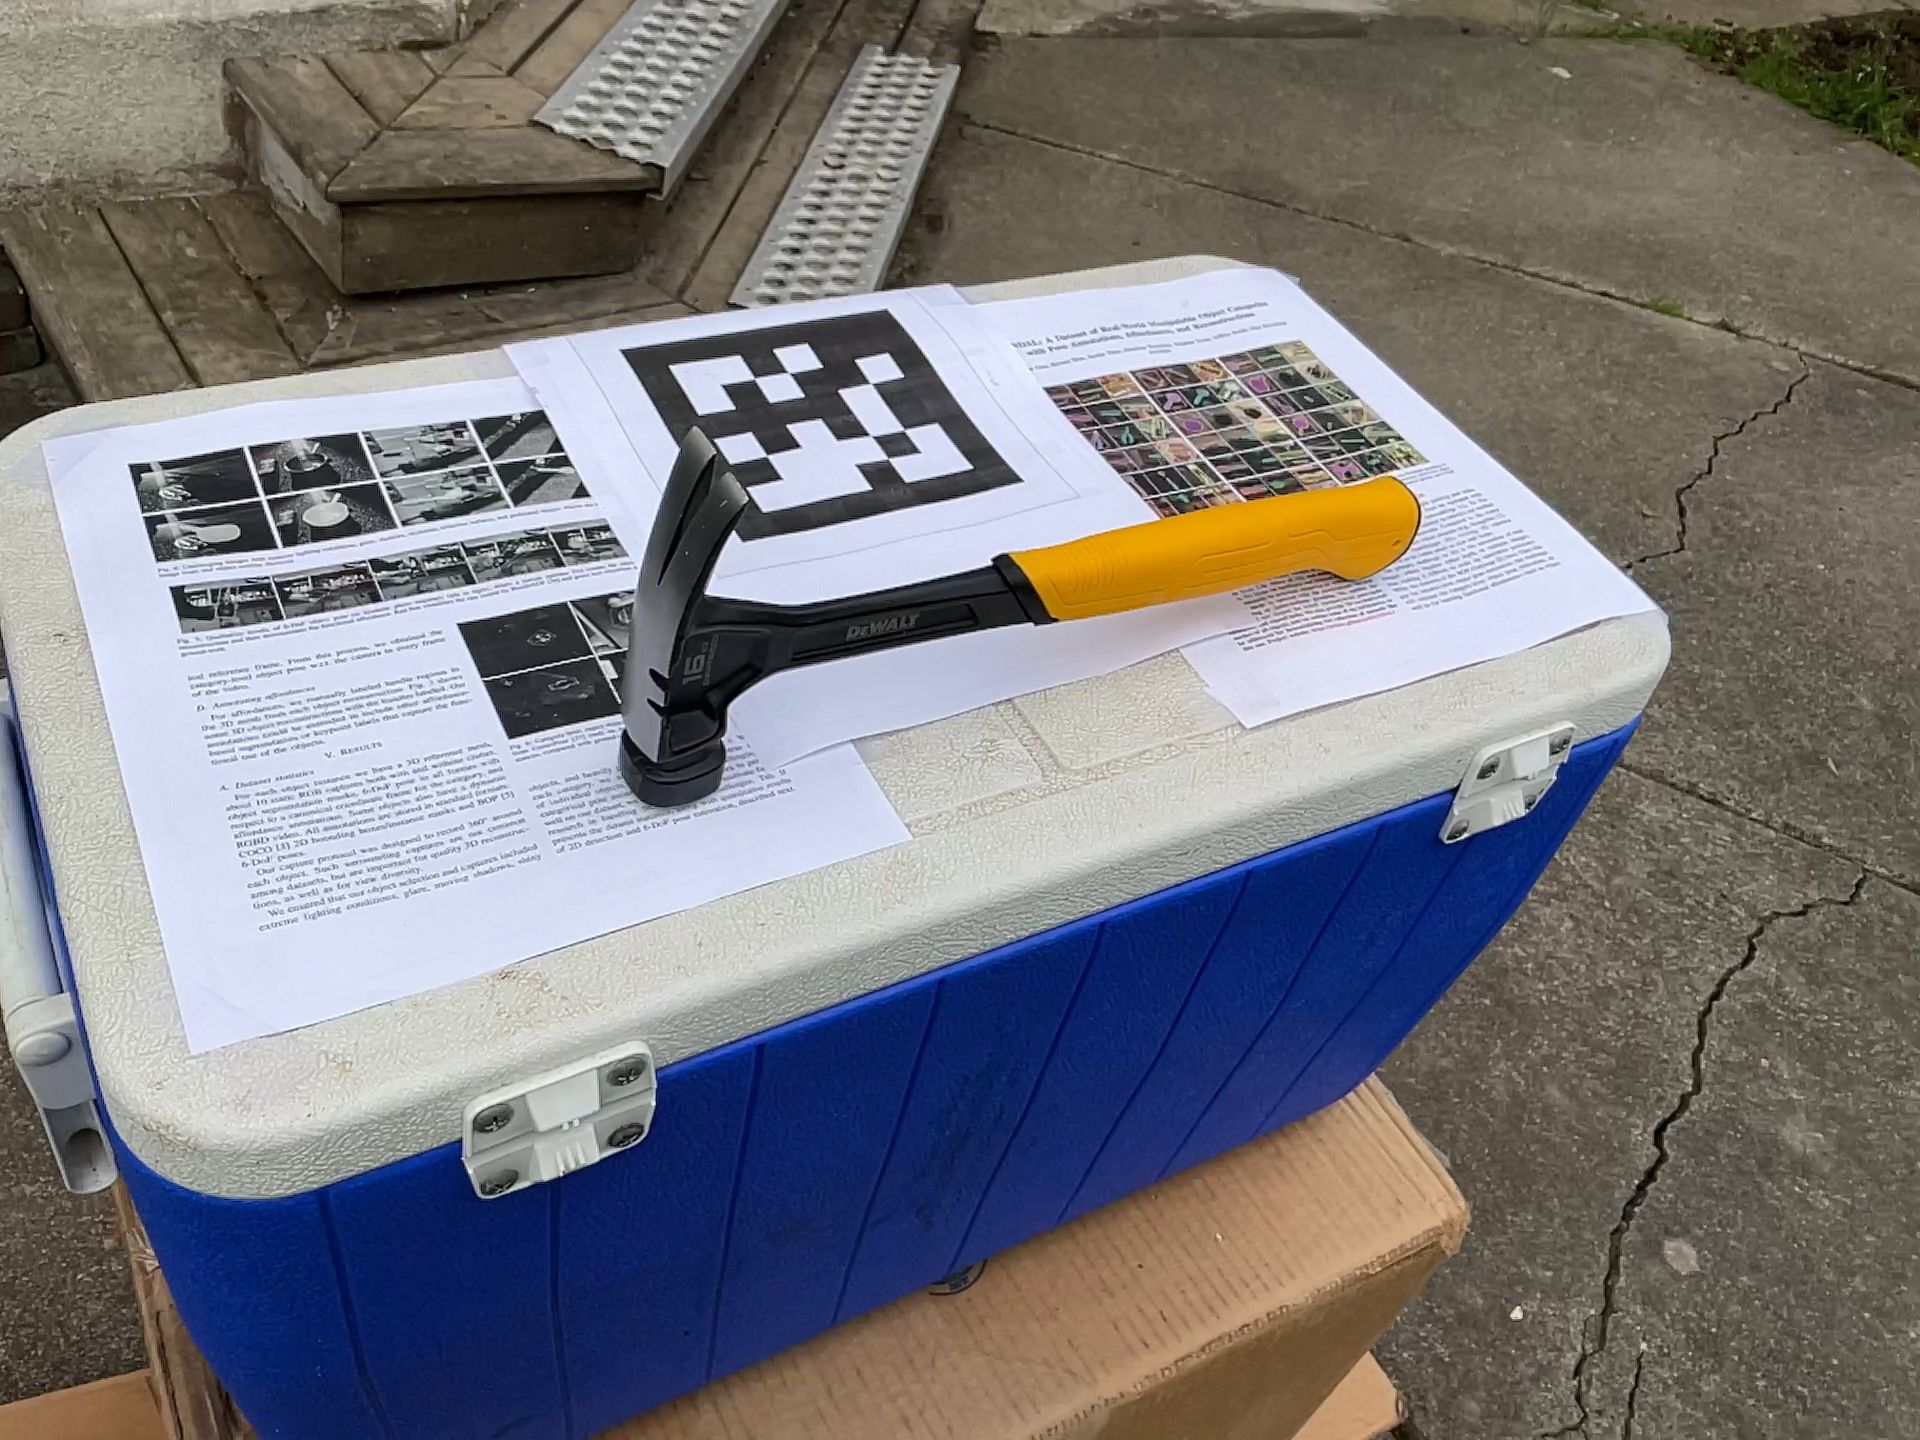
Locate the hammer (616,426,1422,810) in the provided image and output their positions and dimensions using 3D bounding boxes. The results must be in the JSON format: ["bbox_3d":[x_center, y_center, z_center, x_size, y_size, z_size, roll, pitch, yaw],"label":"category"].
[{"bbox_3d":[0.044,-0.055,0.563,0.336,0.127,0.034,-13,50,-33],"label":"hammer"}]
